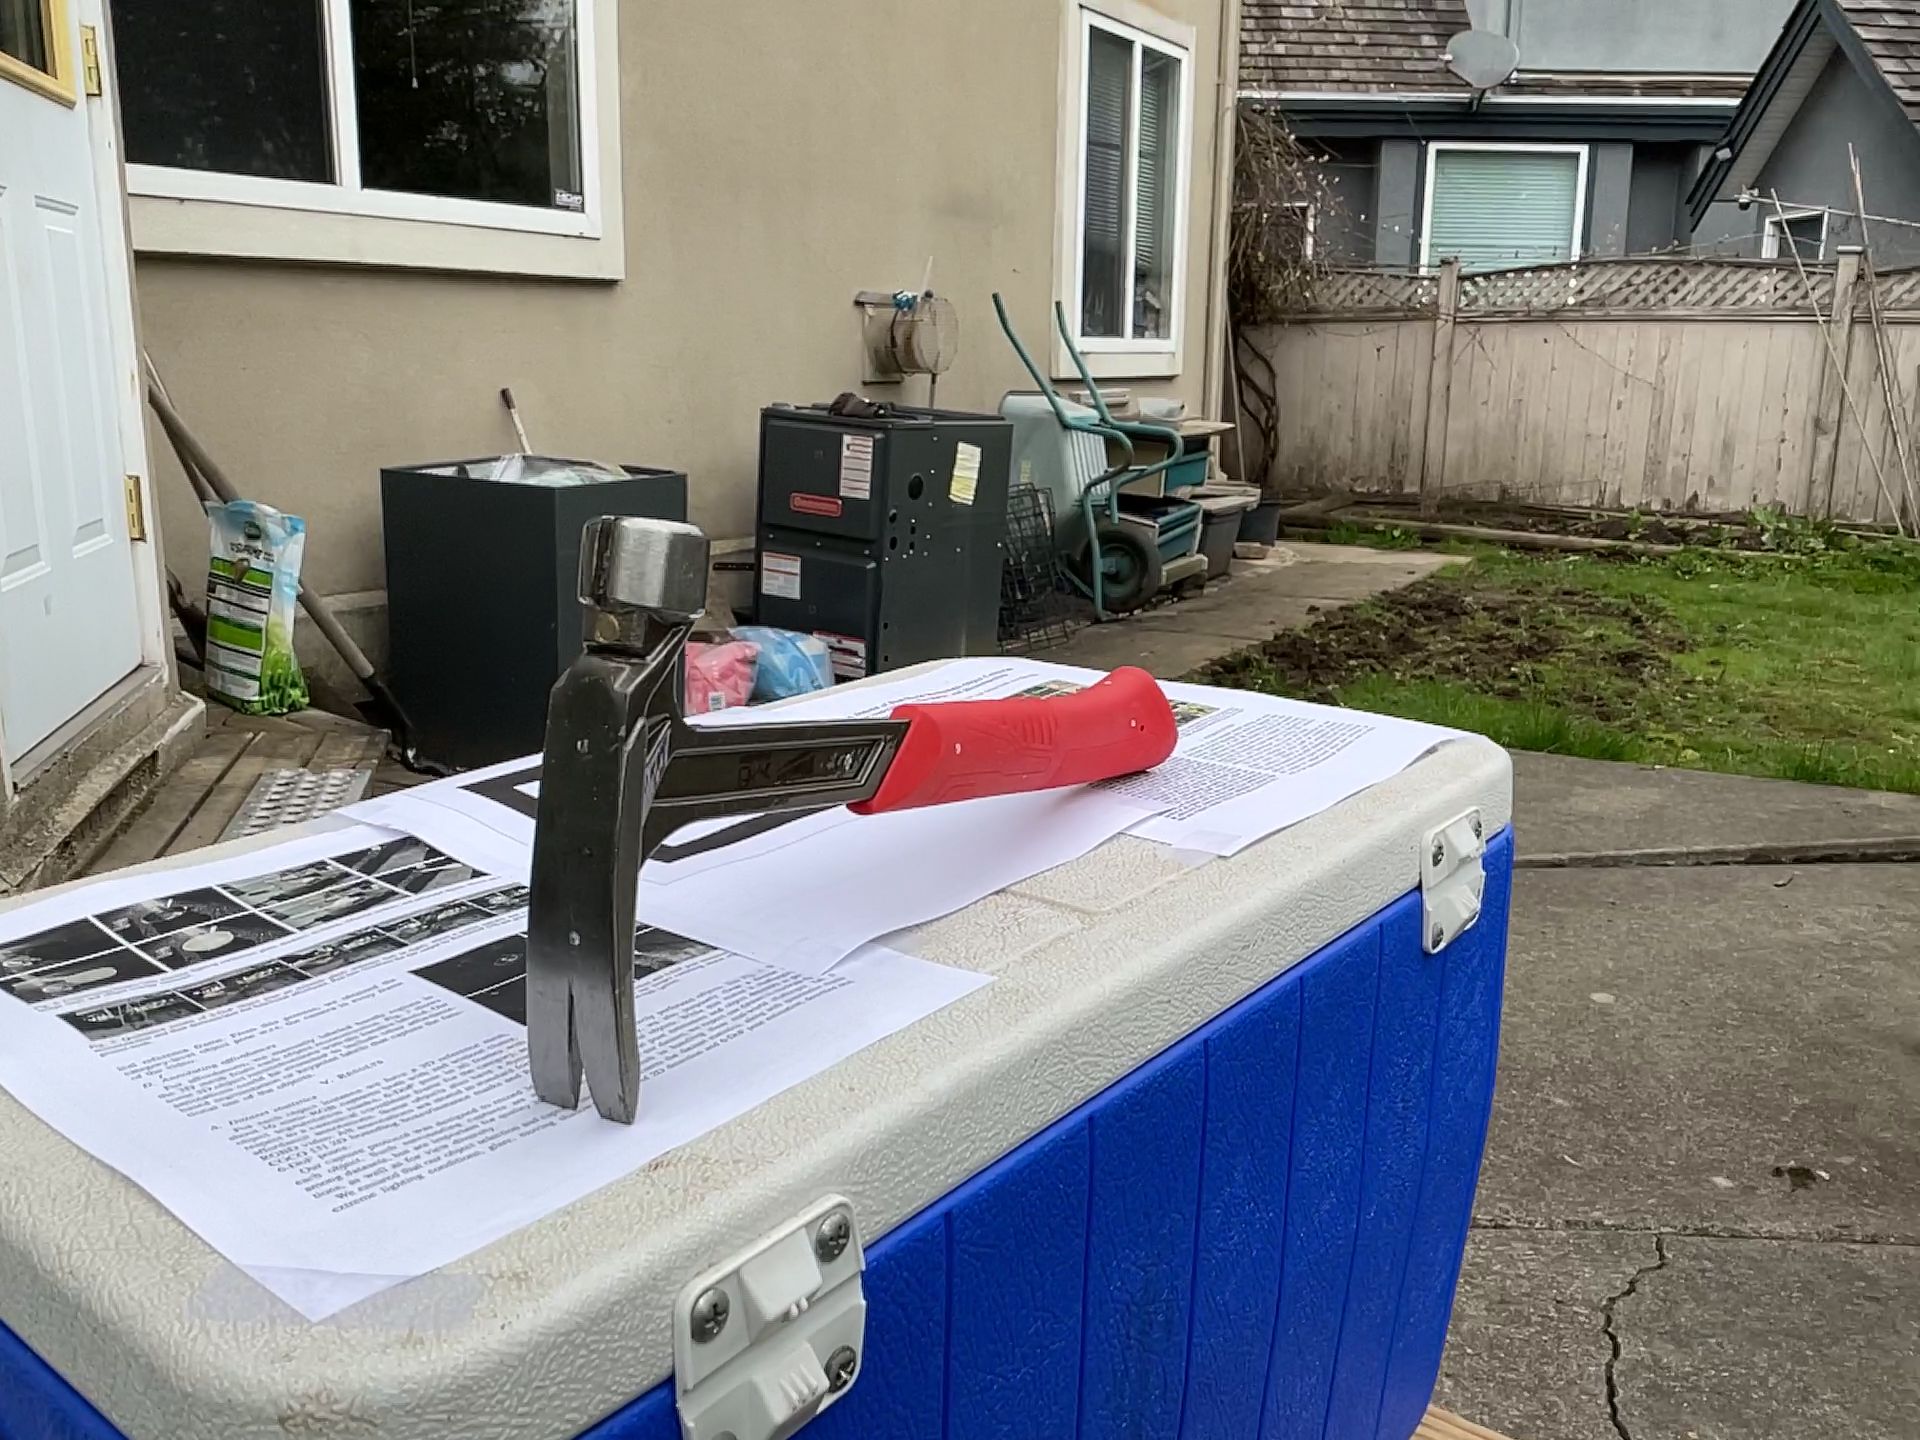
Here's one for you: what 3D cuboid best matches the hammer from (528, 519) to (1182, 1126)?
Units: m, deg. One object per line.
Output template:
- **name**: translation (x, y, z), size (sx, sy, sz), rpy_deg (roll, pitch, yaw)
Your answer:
- **hammer**: translation (-0.007, 0.022, 0.542), size (0.037, 0.149, 0.359), rpy_deg (7, 4, 28)
